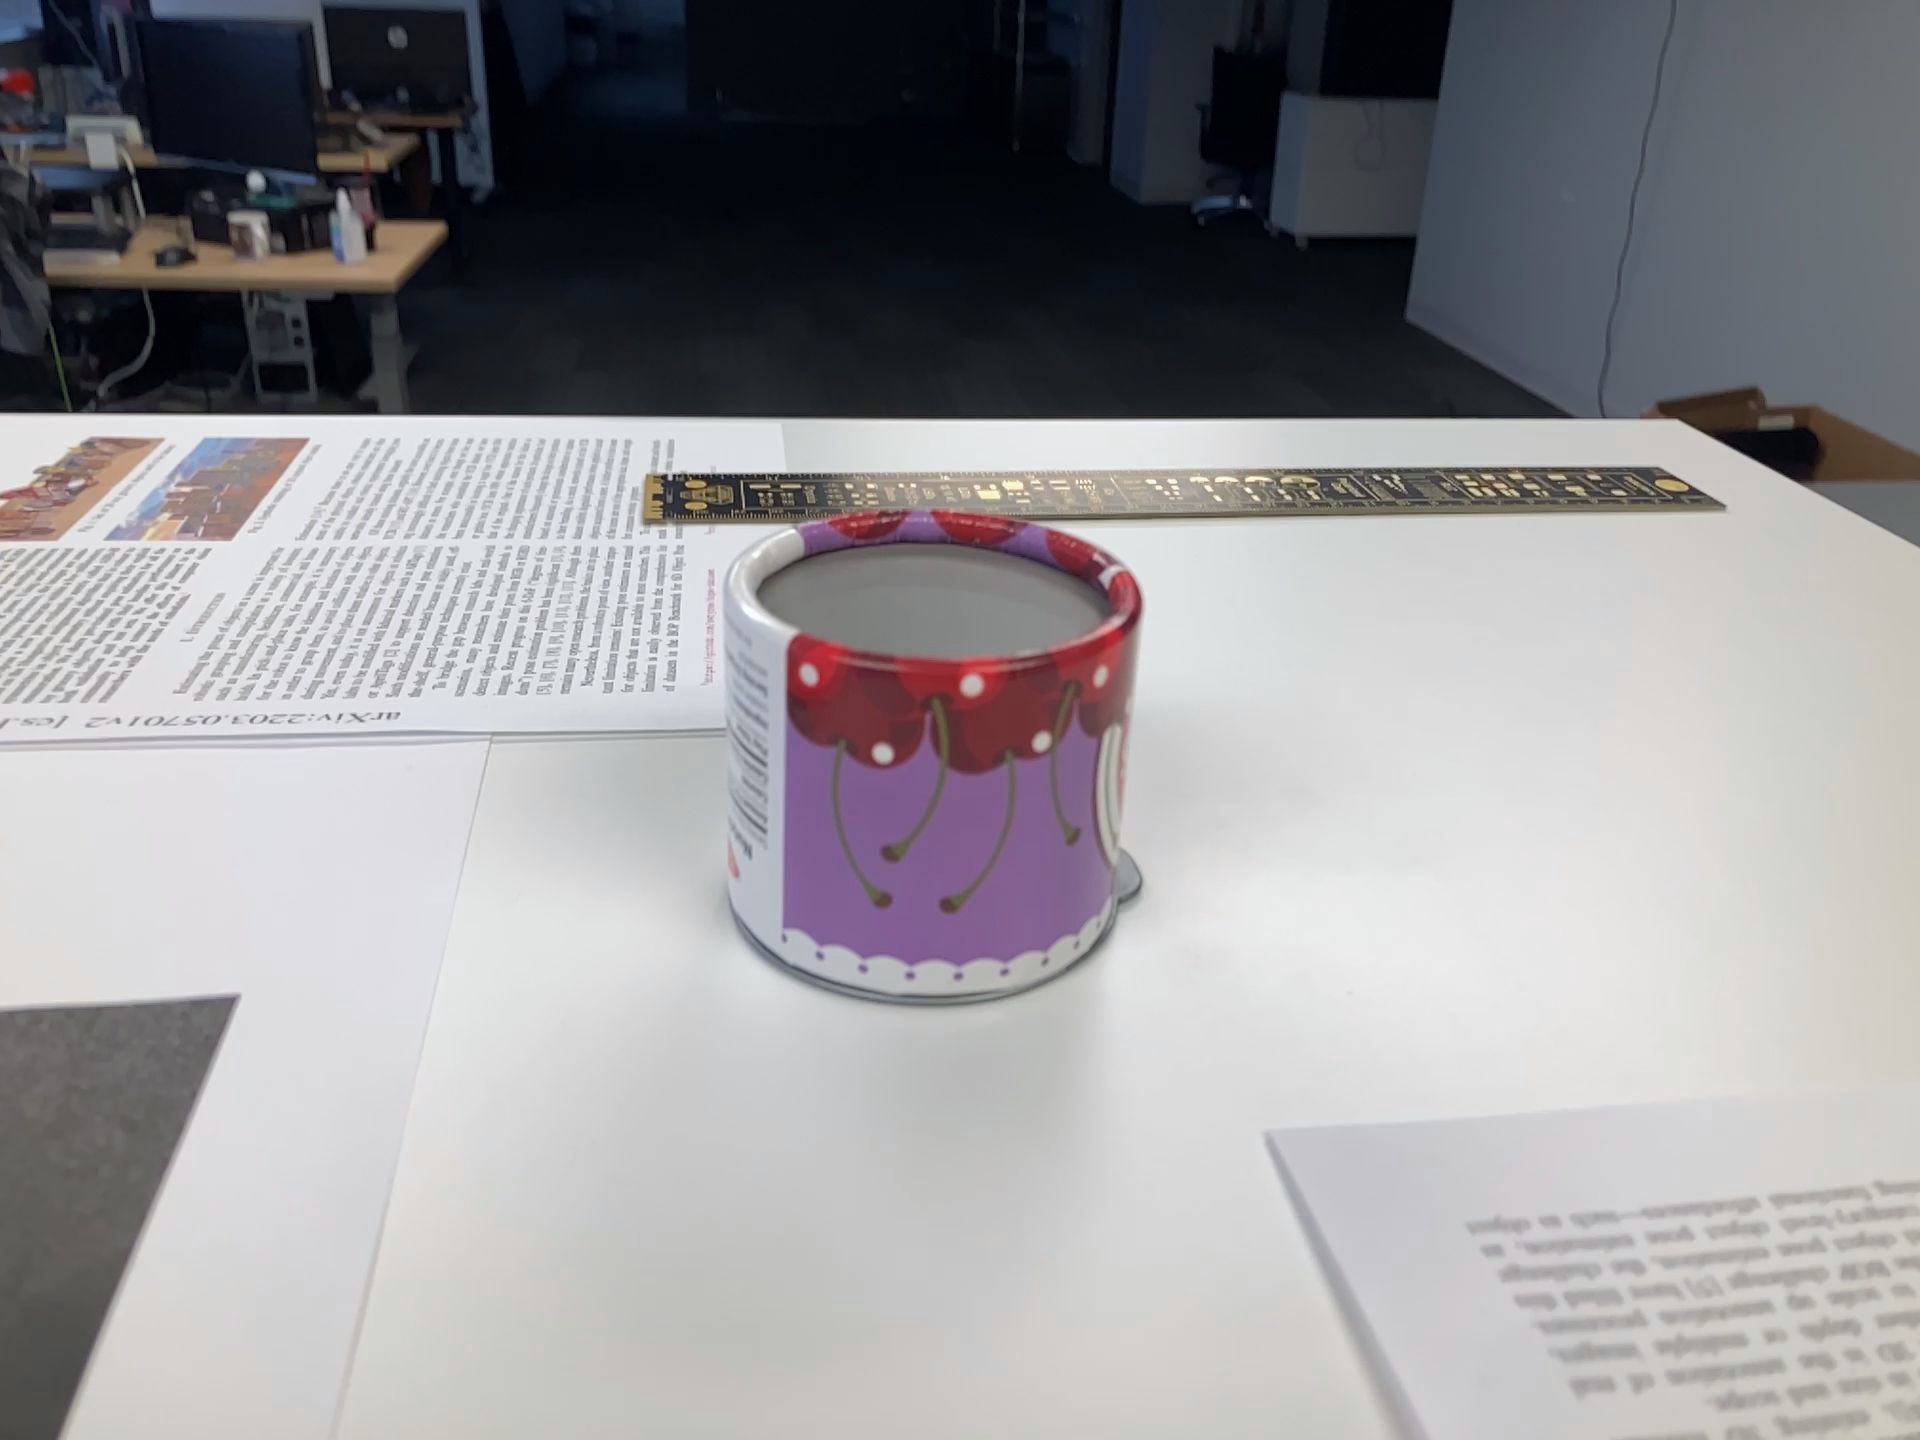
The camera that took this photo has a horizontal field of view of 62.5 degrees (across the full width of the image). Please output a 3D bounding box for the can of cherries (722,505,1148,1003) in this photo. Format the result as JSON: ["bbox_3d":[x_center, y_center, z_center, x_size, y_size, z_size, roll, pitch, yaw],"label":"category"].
[{"bbox_3d":[-0.003,0.002,0.257,0.071,0.058,0.071,2,26,-1],"label":"can of cherries"}]
